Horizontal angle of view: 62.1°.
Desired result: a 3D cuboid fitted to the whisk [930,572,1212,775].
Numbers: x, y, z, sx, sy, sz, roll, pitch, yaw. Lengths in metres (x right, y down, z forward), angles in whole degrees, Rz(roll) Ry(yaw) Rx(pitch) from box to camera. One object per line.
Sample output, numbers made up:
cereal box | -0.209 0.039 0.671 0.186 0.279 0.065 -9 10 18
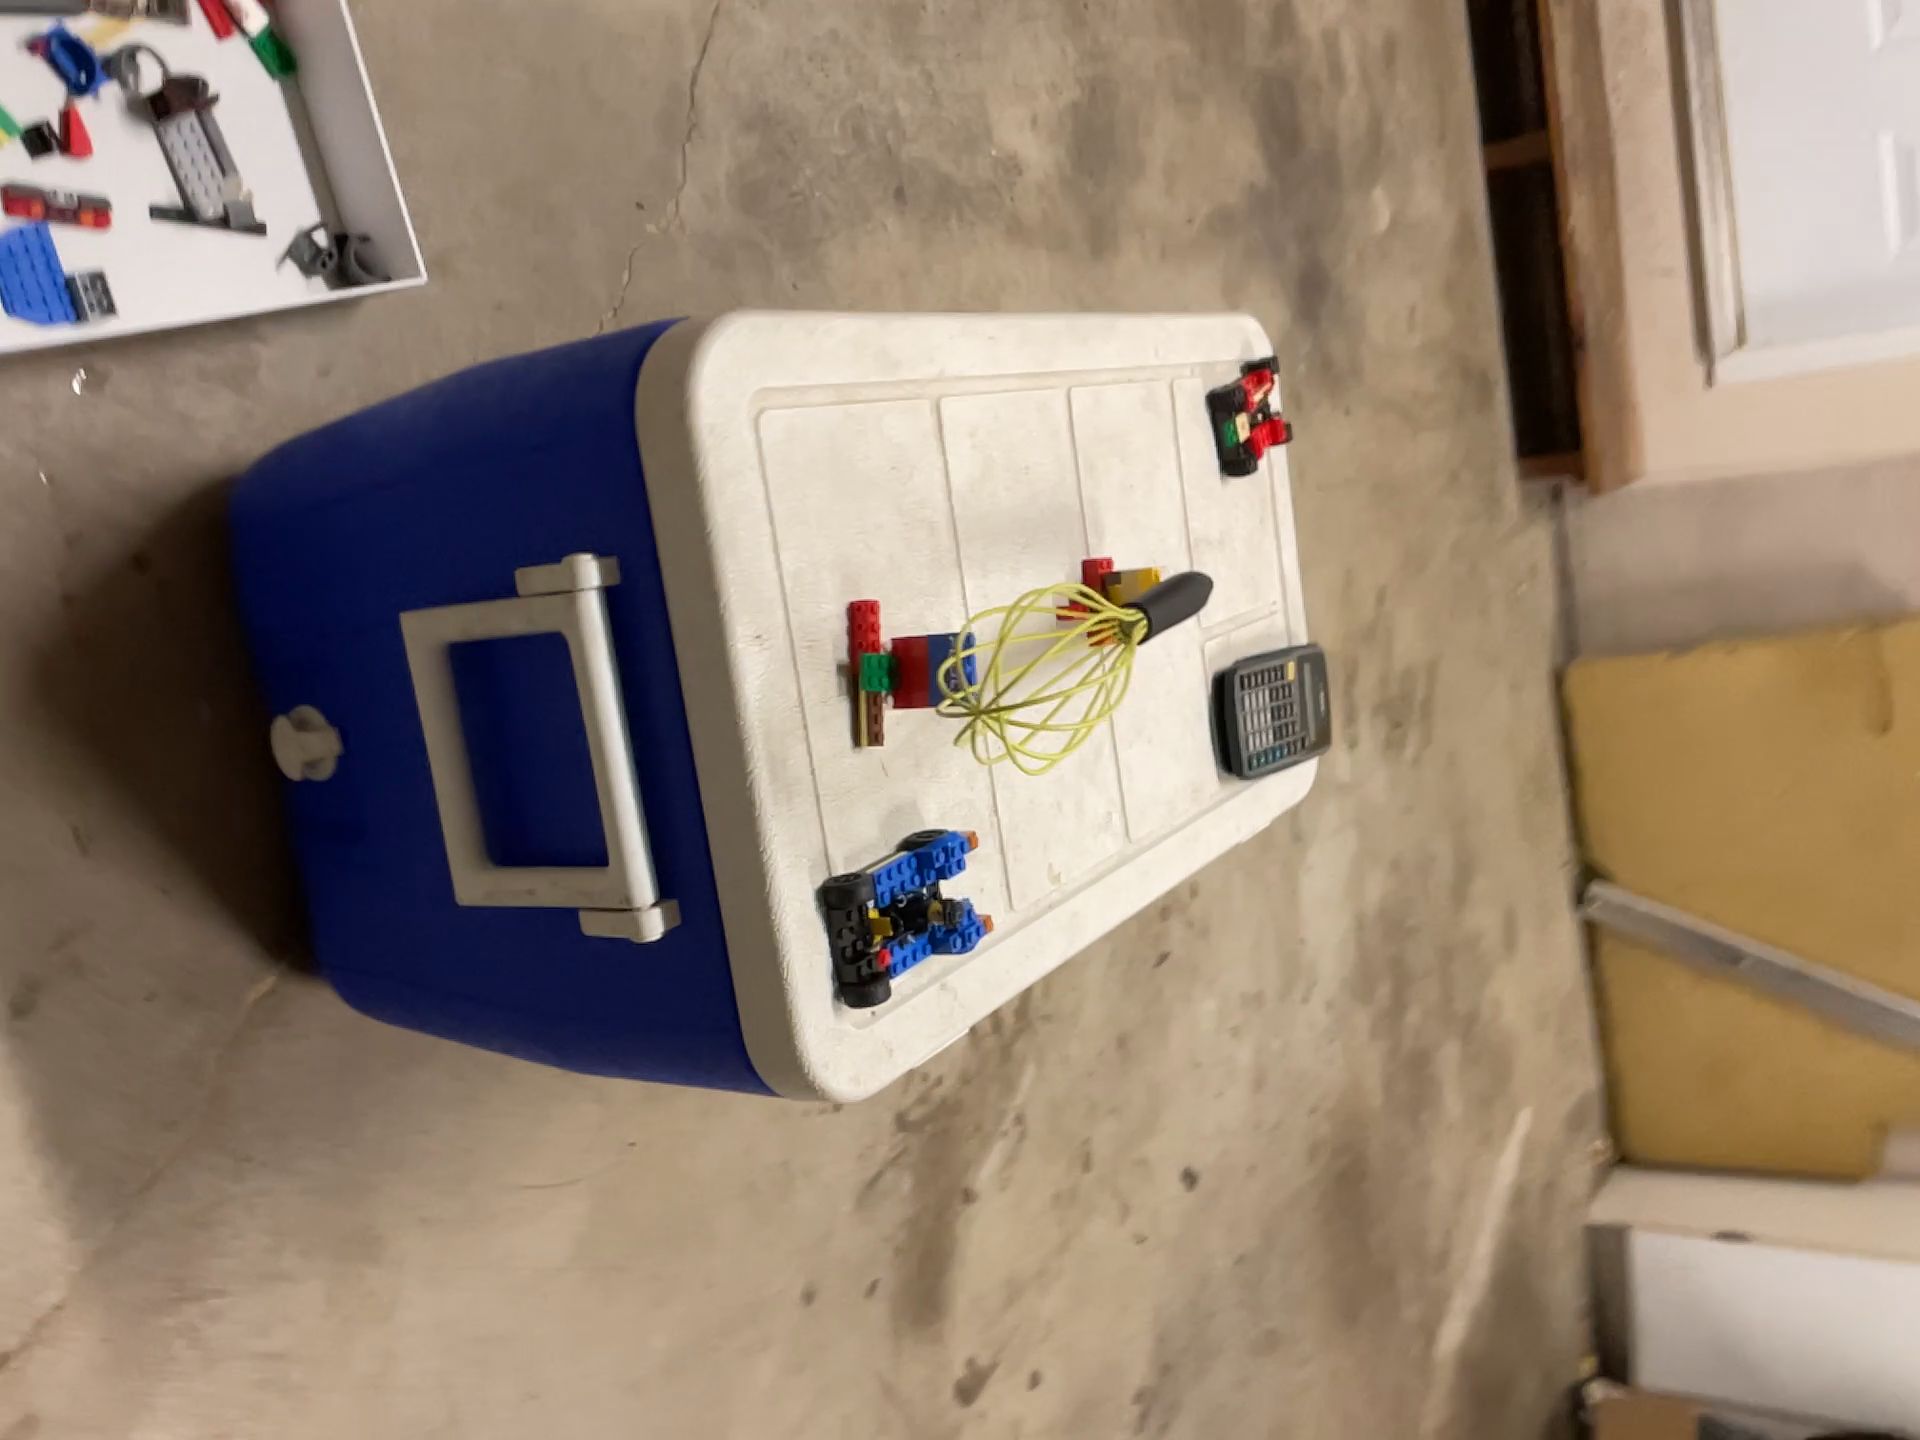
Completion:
whisk | 0.068 -0.040 0.741 0.079 0.067 0.312 -54 169 26
